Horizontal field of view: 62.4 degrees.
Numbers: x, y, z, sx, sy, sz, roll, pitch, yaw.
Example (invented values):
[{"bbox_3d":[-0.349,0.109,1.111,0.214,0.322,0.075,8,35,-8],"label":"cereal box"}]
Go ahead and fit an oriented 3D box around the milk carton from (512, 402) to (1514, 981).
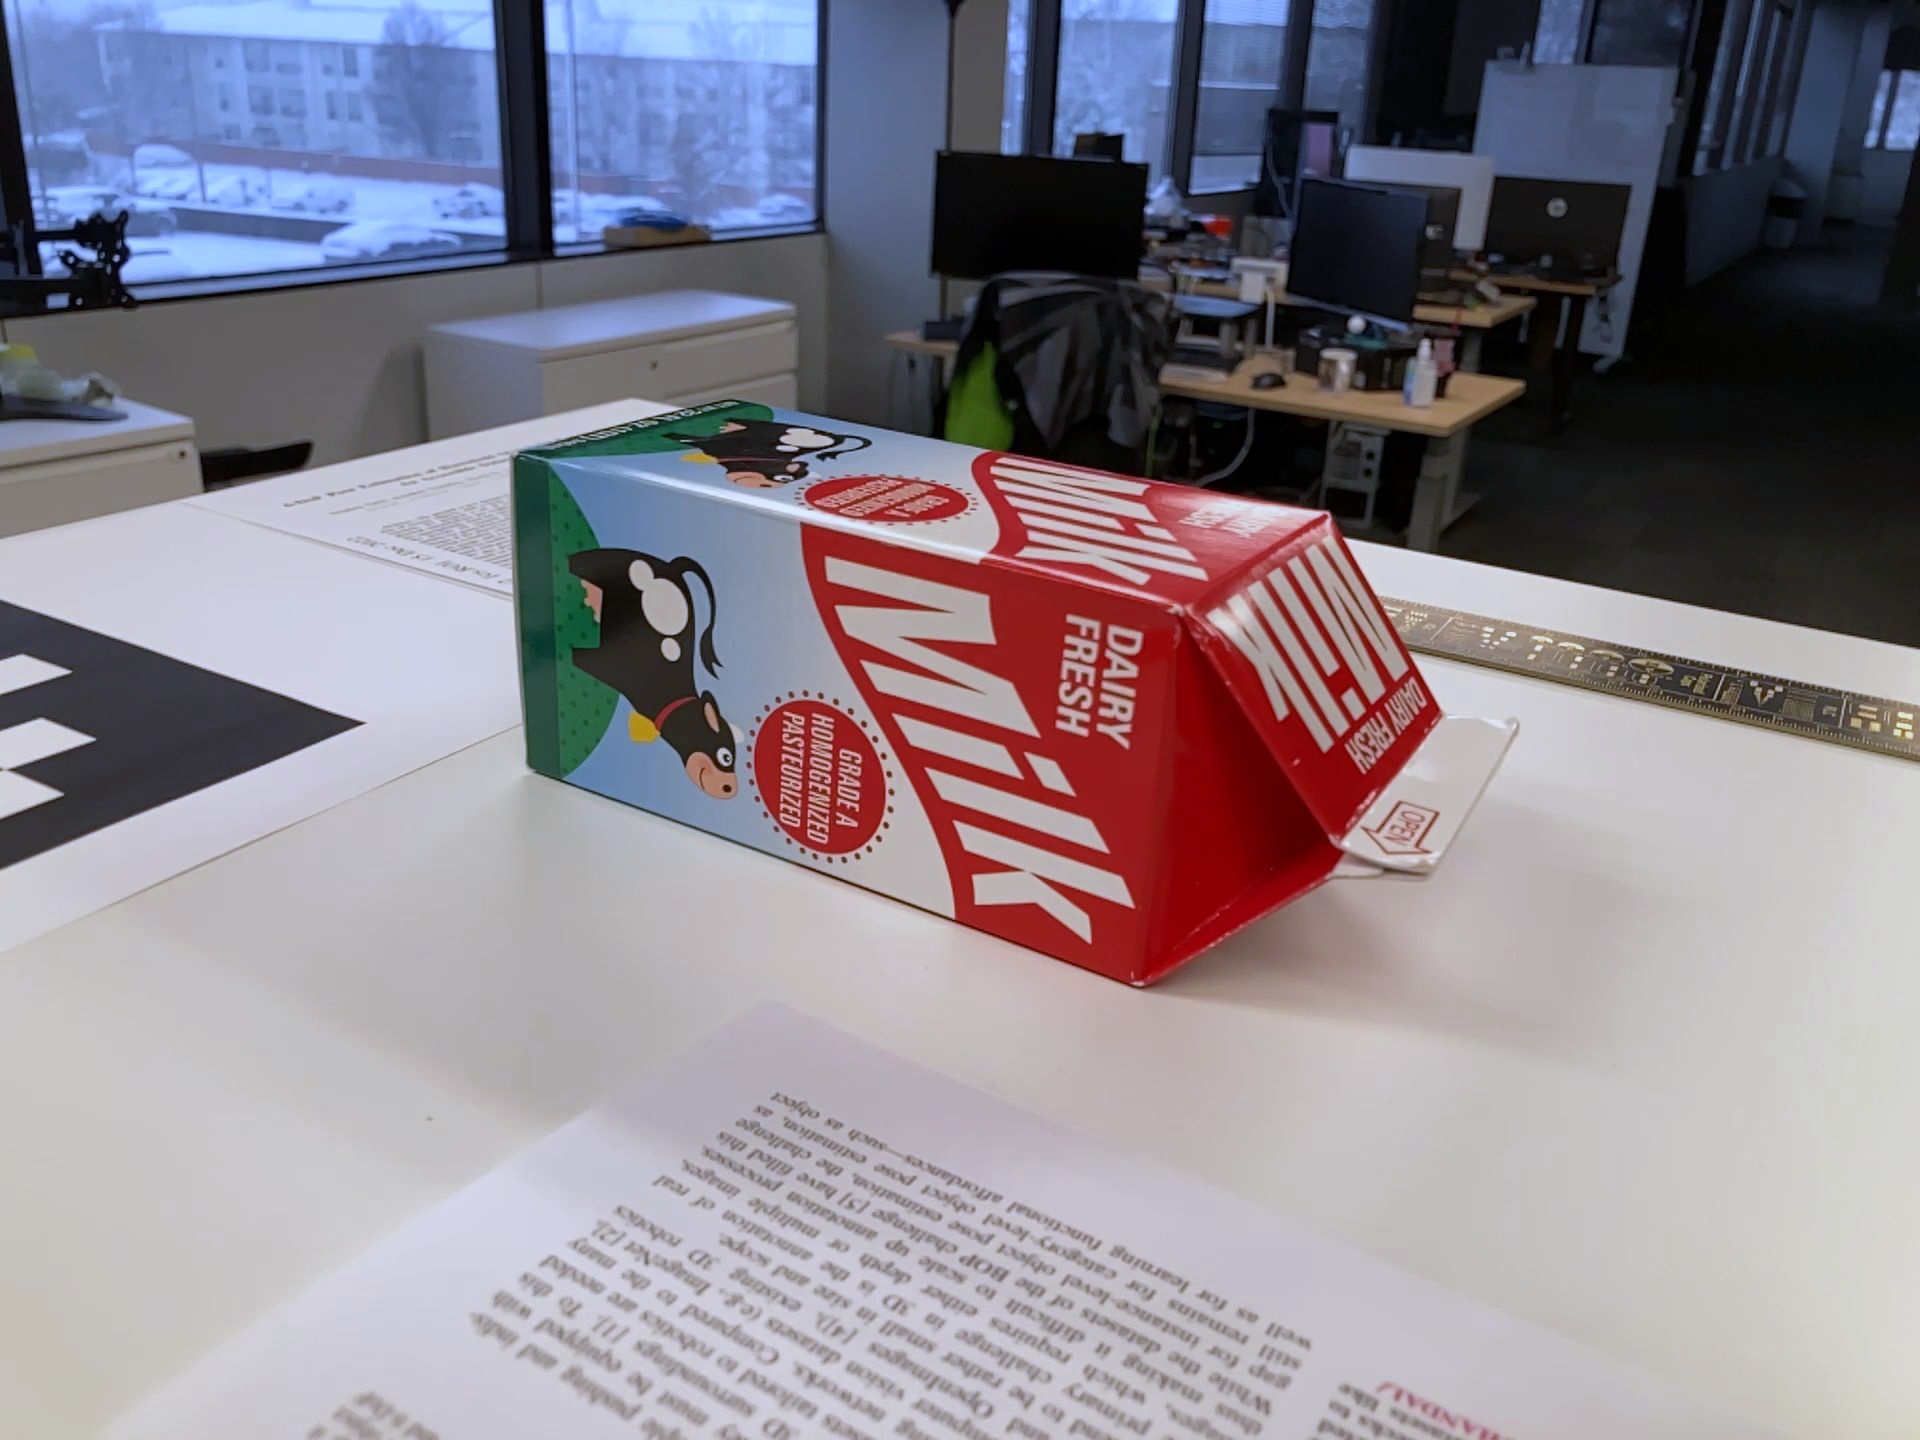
[{"bbox_3d":[0.005,-0.010,0.313,0.190,0.073,0.072,16,25,28],"label":"milk carton"}]
